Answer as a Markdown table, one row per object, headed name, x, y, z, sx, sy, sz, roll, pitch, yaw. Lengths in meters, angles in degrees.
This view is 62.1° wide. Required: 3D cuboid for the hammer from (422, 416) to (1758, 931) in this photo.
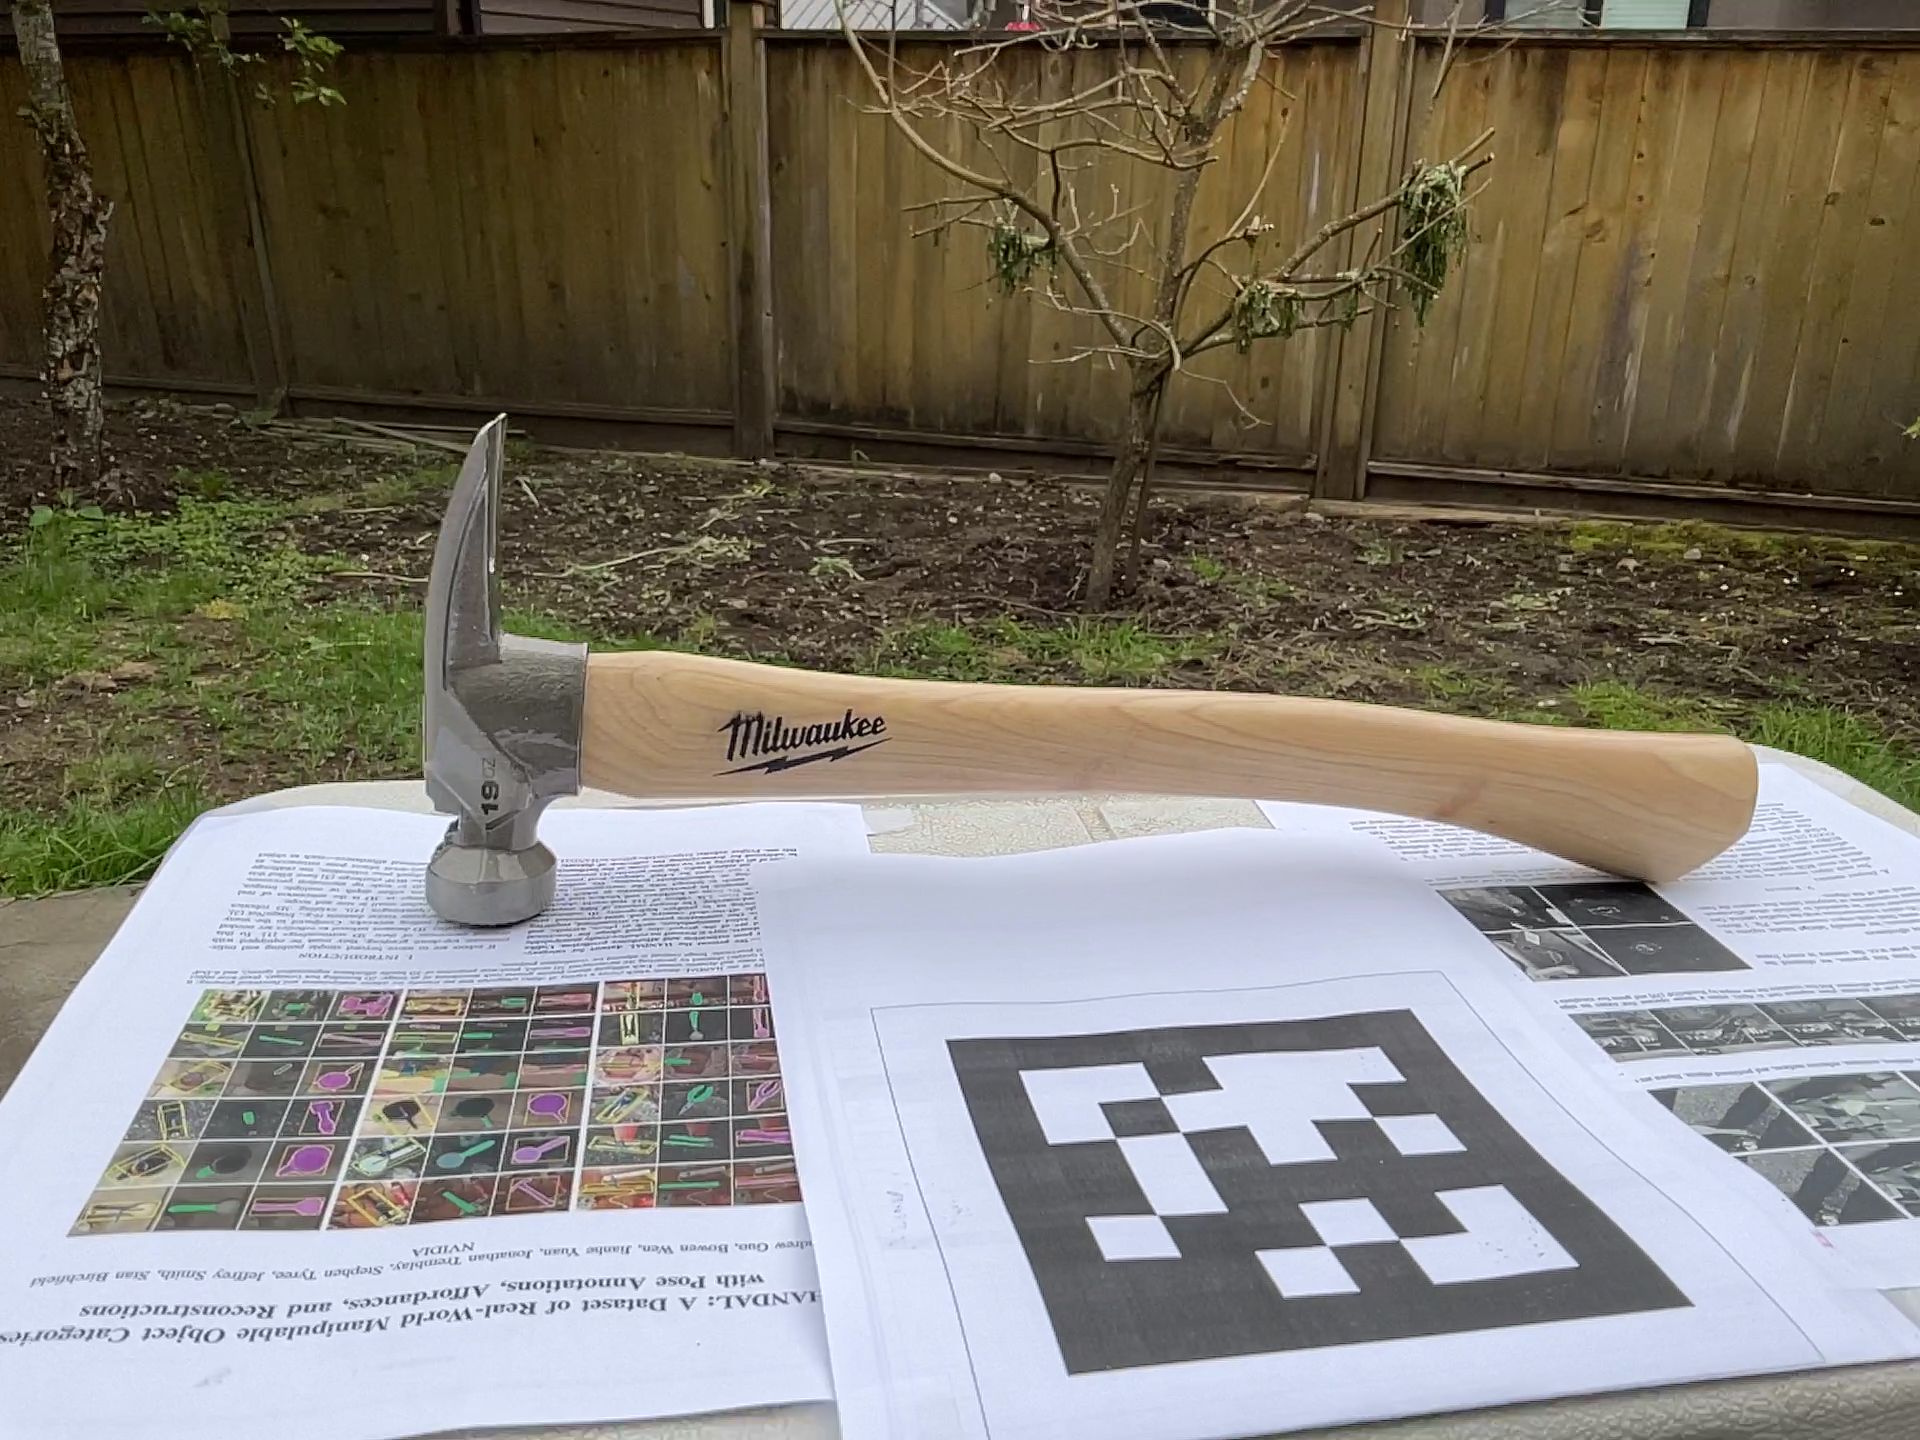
| name | x | y | z | sx | sy | sz | roll | pitch | yaw |
| --- | --- | --- | --- | --- | --- | --- | --- | --- | --- |
| hammer | 0.050 | 0.000 | 0.486 | 0.410 | 0.146 | 0.038 | 4 | 18 | -9 |
